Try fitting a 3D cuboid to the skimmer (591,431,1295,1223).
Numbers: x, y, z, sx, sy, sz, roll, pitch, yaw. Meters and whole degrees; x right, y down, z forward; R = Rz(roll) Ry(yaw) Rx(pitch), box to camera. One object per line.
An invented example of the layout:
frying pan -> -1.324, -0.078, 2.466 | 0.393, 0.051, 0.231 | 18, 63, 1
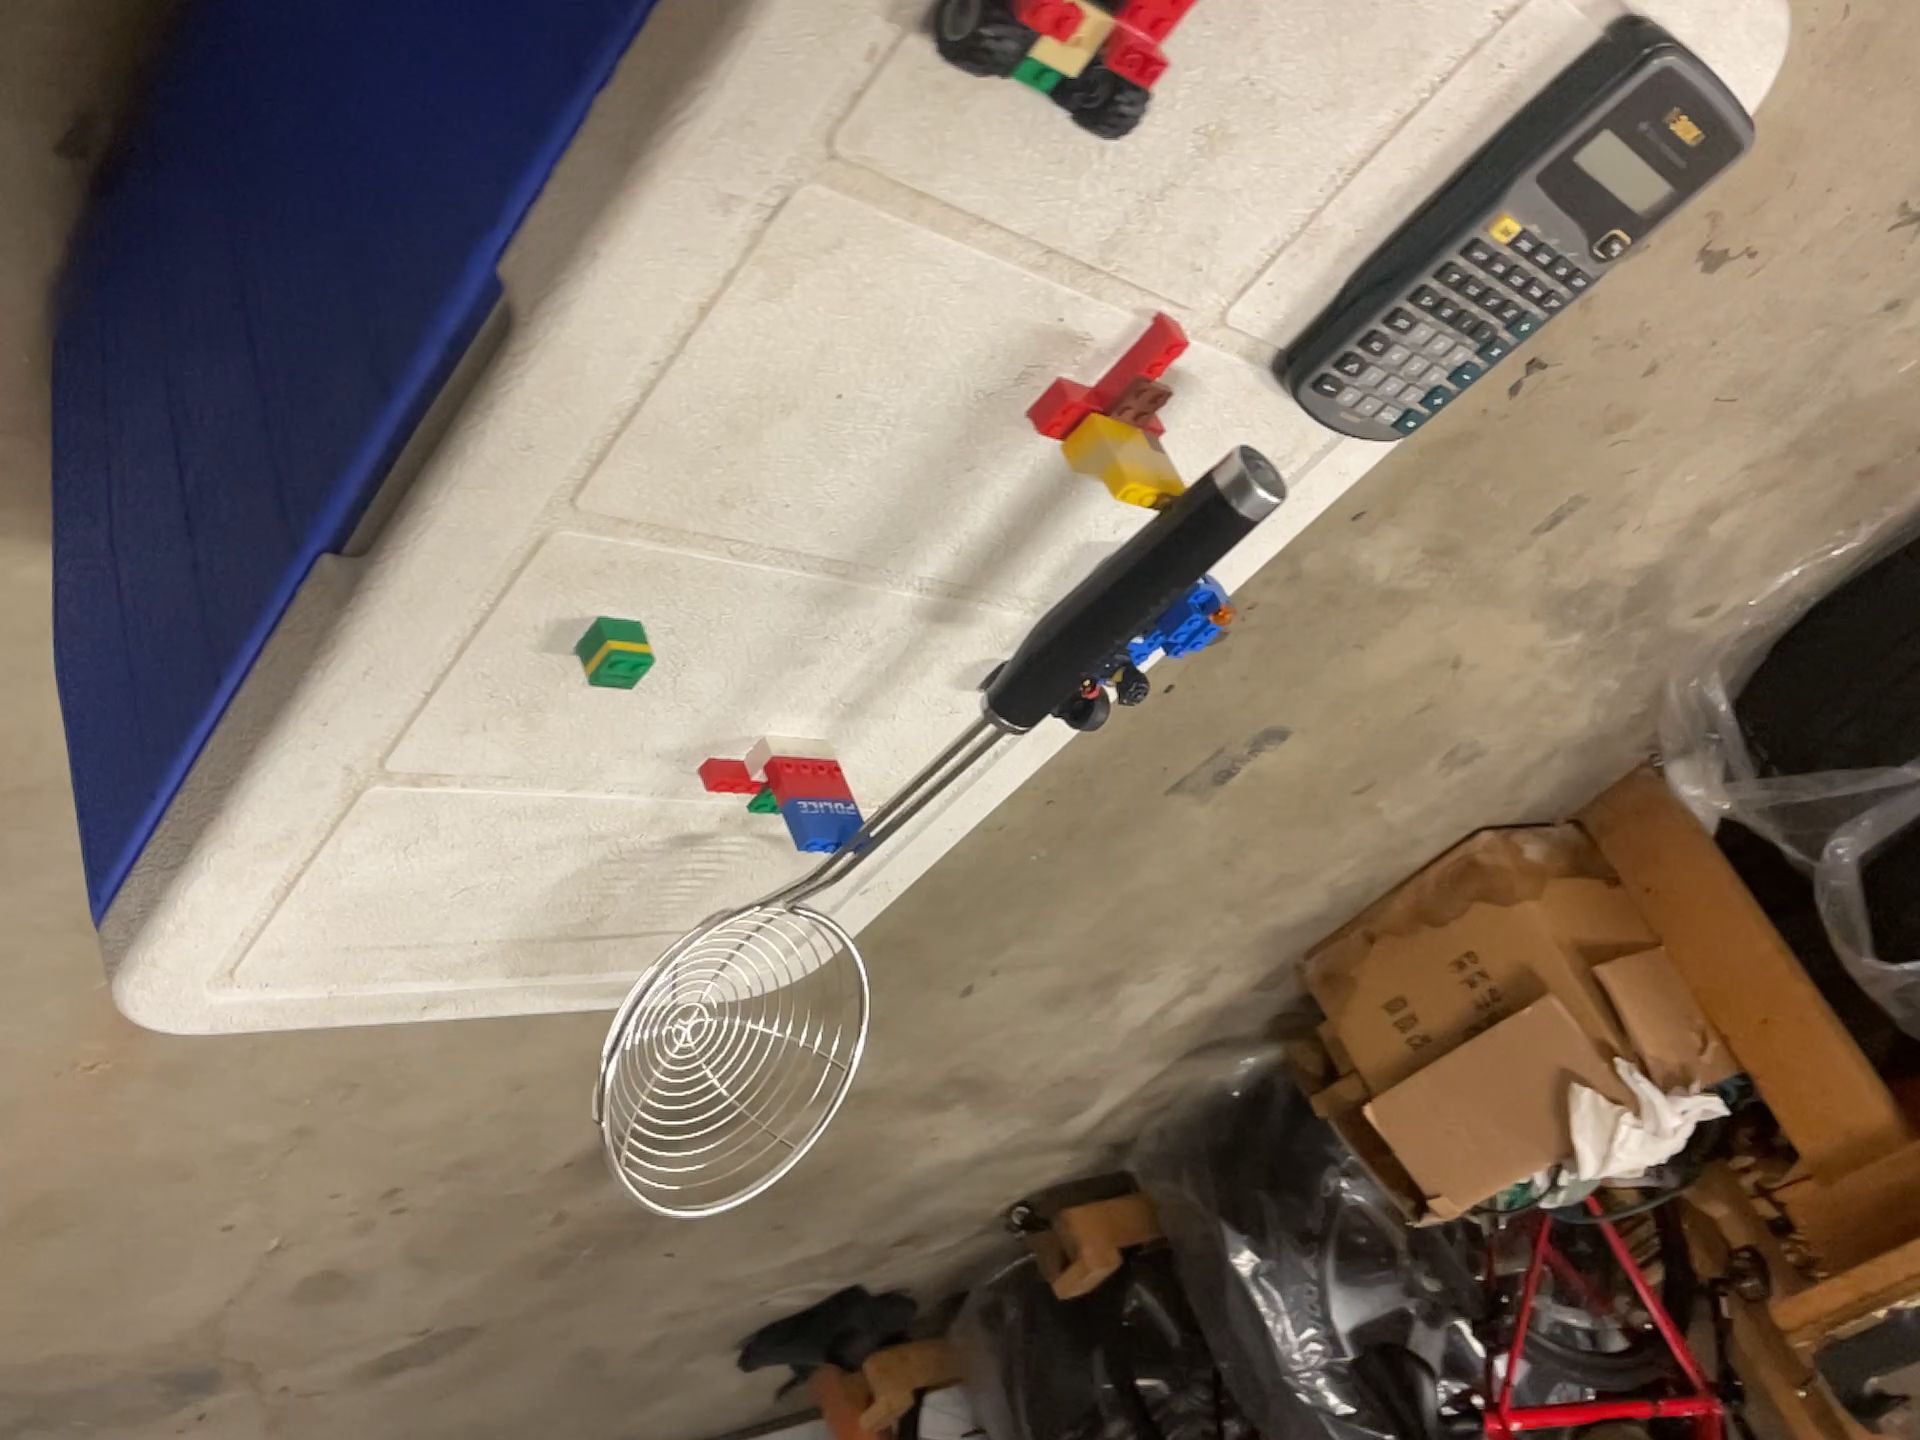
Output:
skimmer -> -0.007, 0.054, 0.544 | 0.127, 0.090, 0.363 | 4, 141, -46
